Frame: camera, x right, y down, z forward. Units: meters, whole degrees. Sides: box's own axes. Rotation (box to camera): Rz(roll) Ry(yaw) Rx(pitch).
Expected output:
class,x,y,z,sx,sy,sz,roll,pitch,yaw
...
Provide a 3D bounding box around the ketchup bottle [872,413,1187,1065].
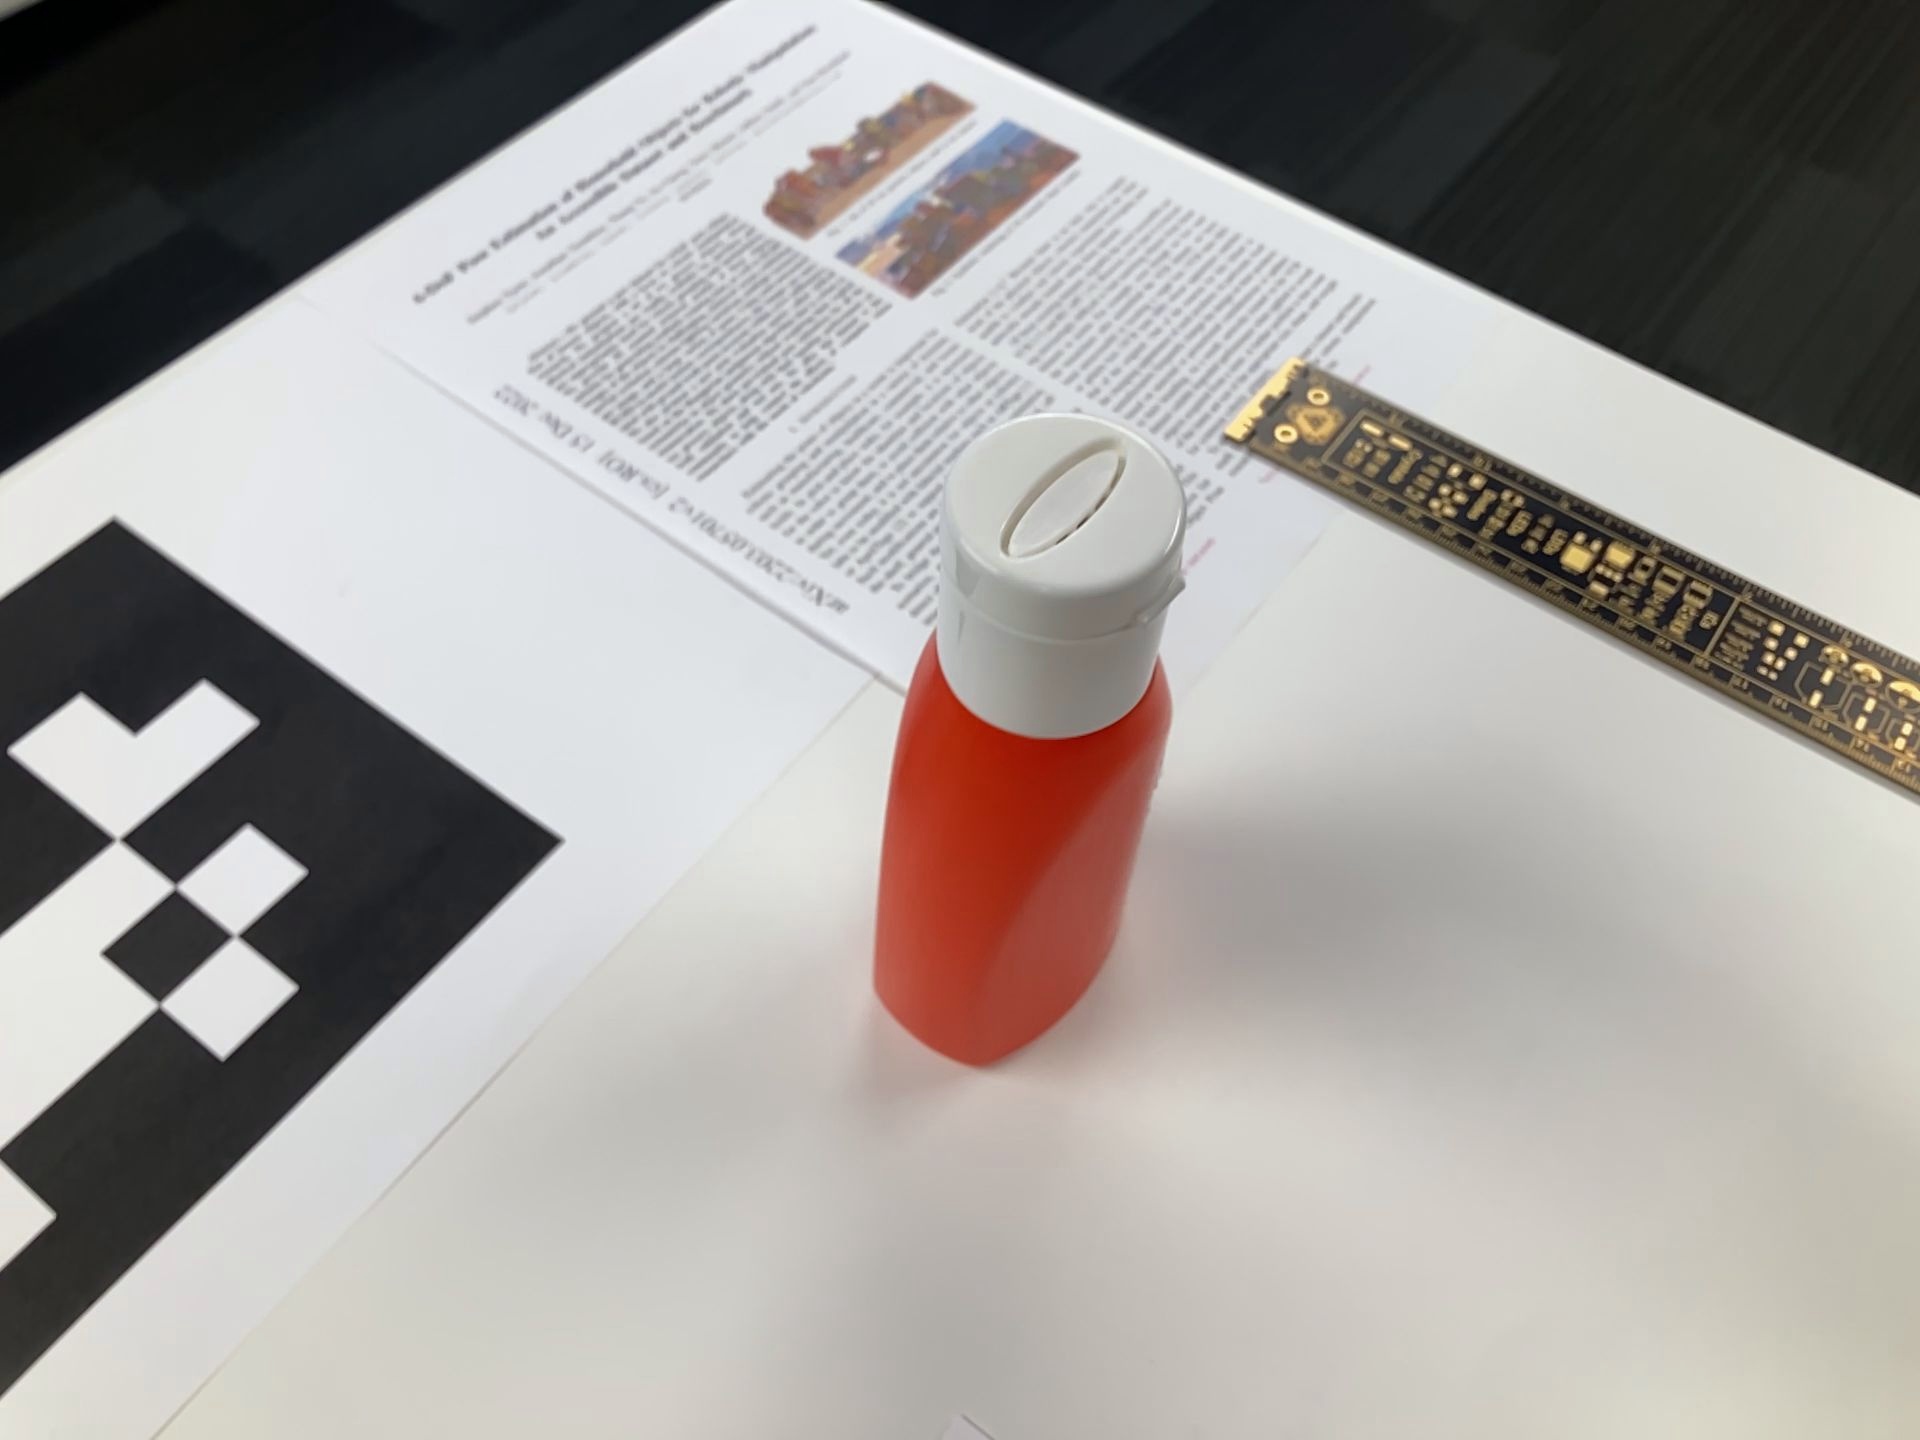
class,x,y,z,sx,sy,sz,roll,pitch,yaw
ketchup bottle,0.013,0.009,0.294,0.043,0.149,0.065,34,61,18
